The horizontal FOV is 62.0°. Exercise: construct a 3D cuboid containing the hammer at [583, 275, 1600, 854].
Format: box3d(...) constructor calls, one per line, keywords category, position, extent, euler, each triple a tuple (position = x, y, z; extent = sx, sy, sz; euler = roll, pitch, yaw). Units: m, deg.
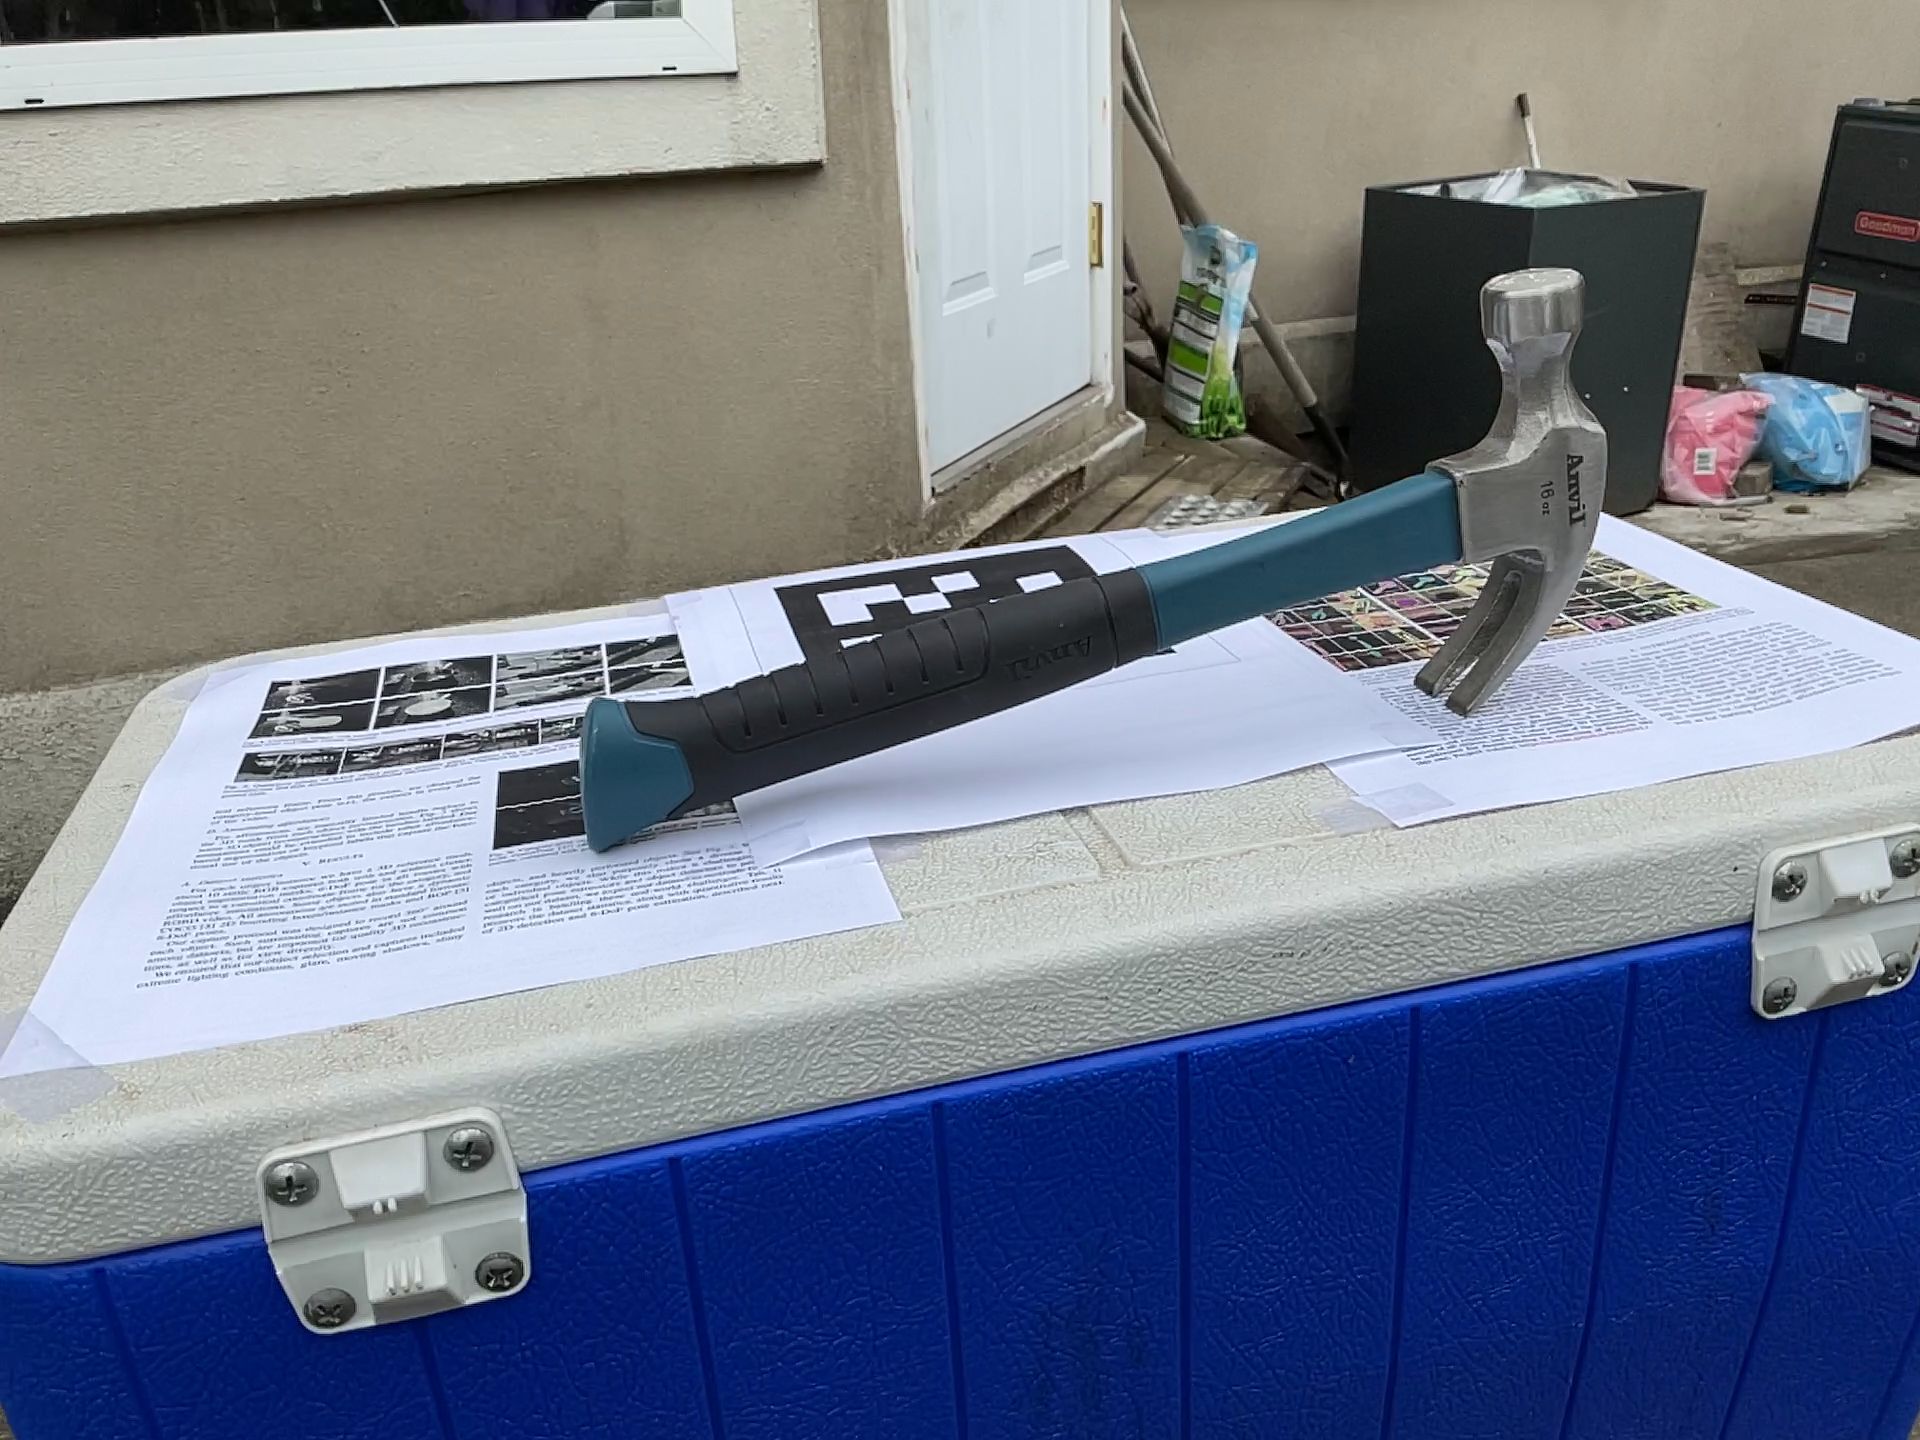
box3d(category="hammer", position=(0.044, -0.030, 0.487), extent=(0.331, 0.128, 0.033), euler=(-18, 23, -9))
